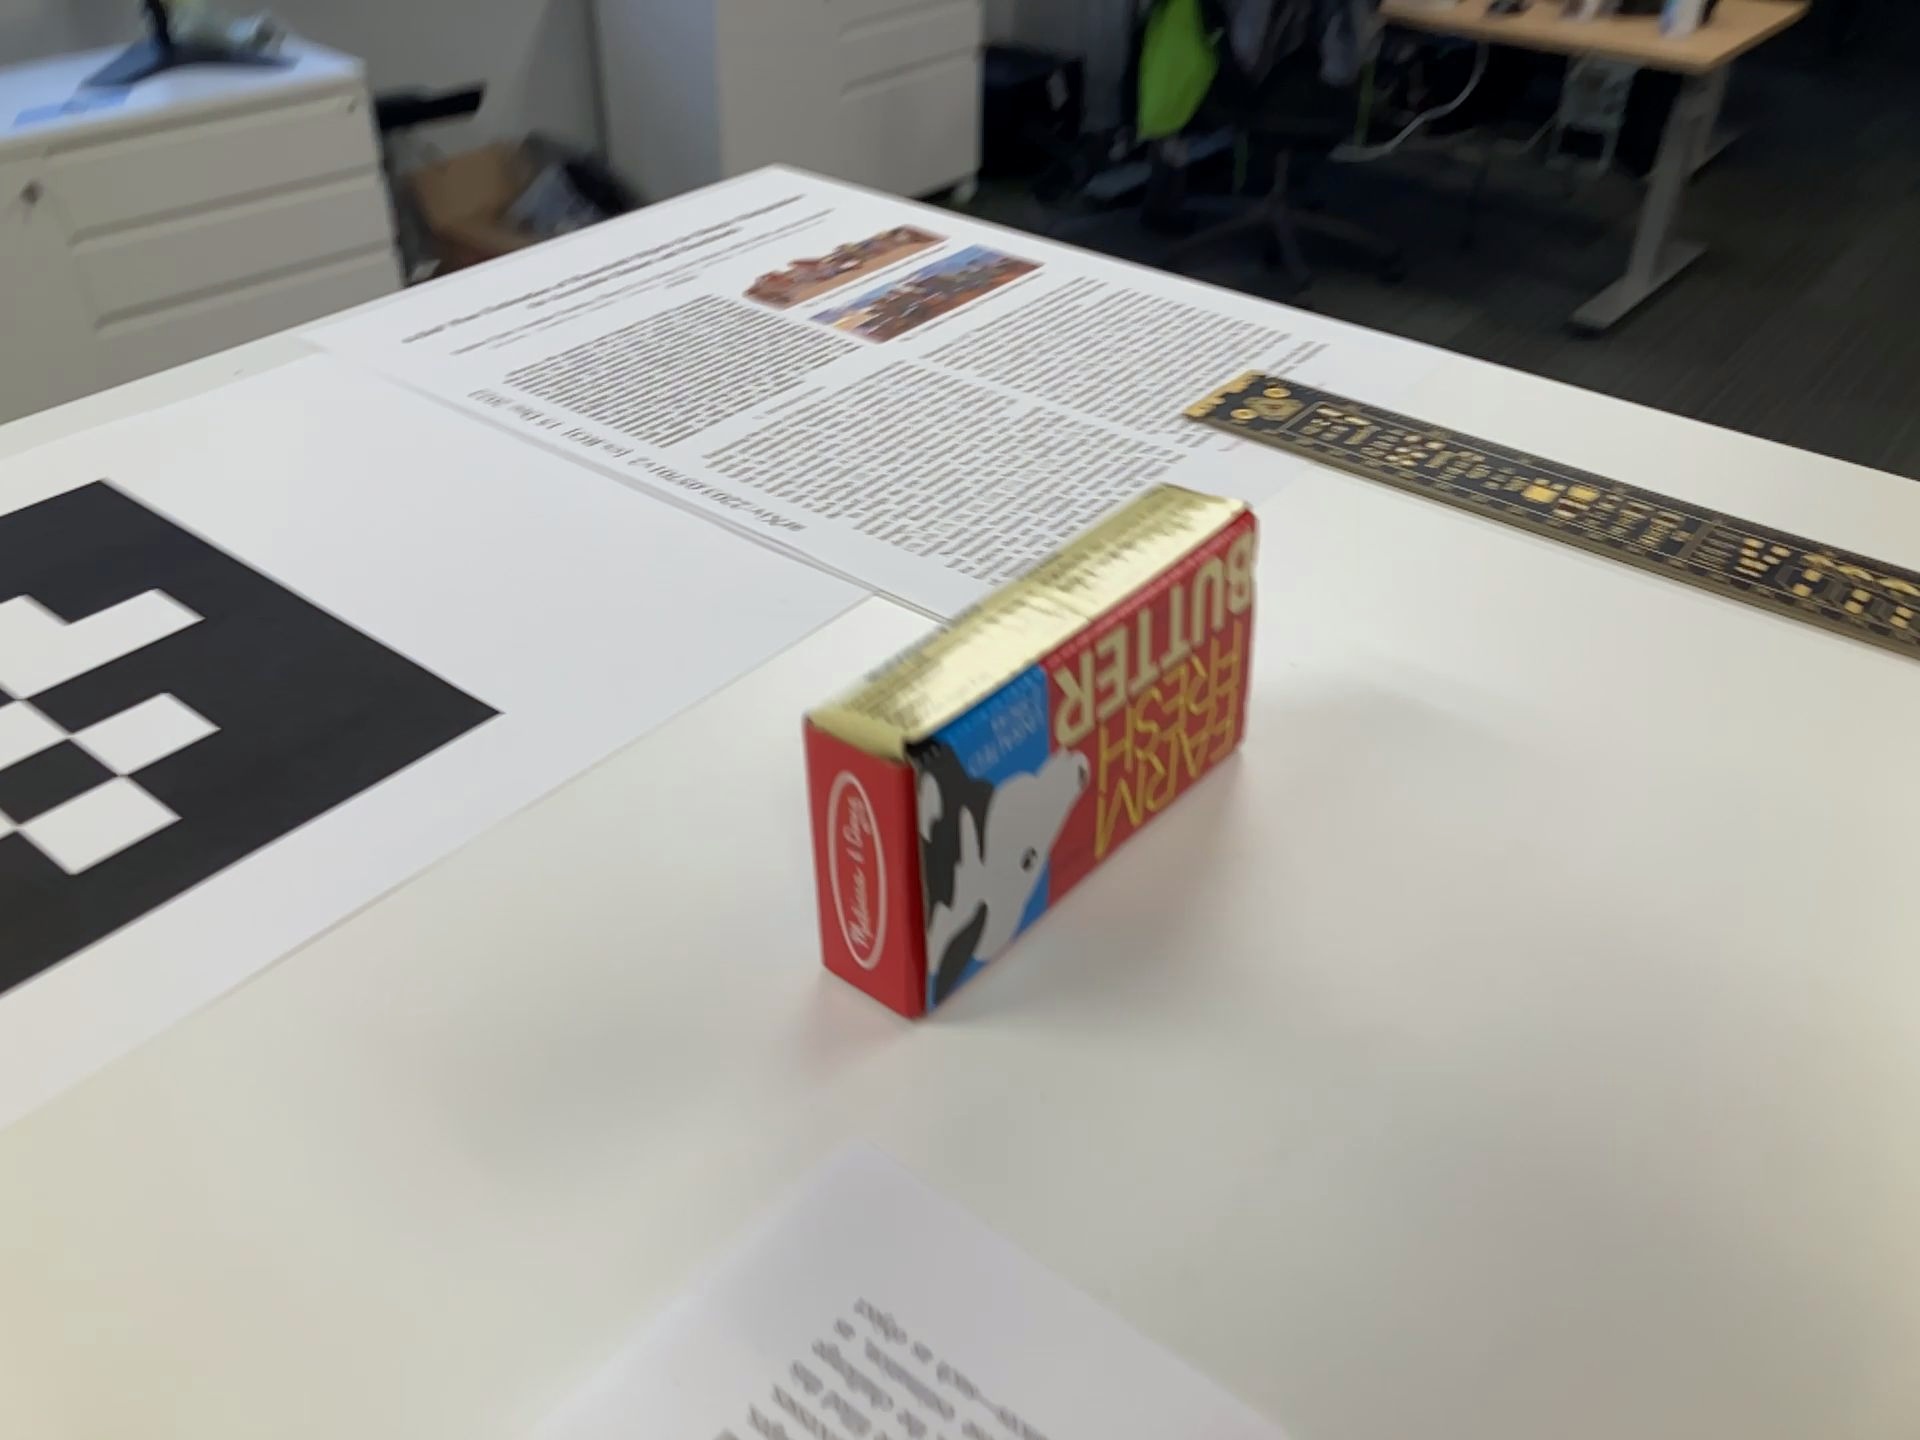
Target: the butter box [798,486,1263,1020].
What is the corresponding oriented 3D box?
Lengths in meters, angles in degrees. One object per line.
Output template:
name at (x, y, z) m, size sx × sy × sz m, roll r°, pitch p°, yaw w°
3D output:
butter box at (0.017, 0.001, 0.279) m, size 0.024 × 0.053 × 0.103 m, roll 23°, pitch 41°, yaw 32°
